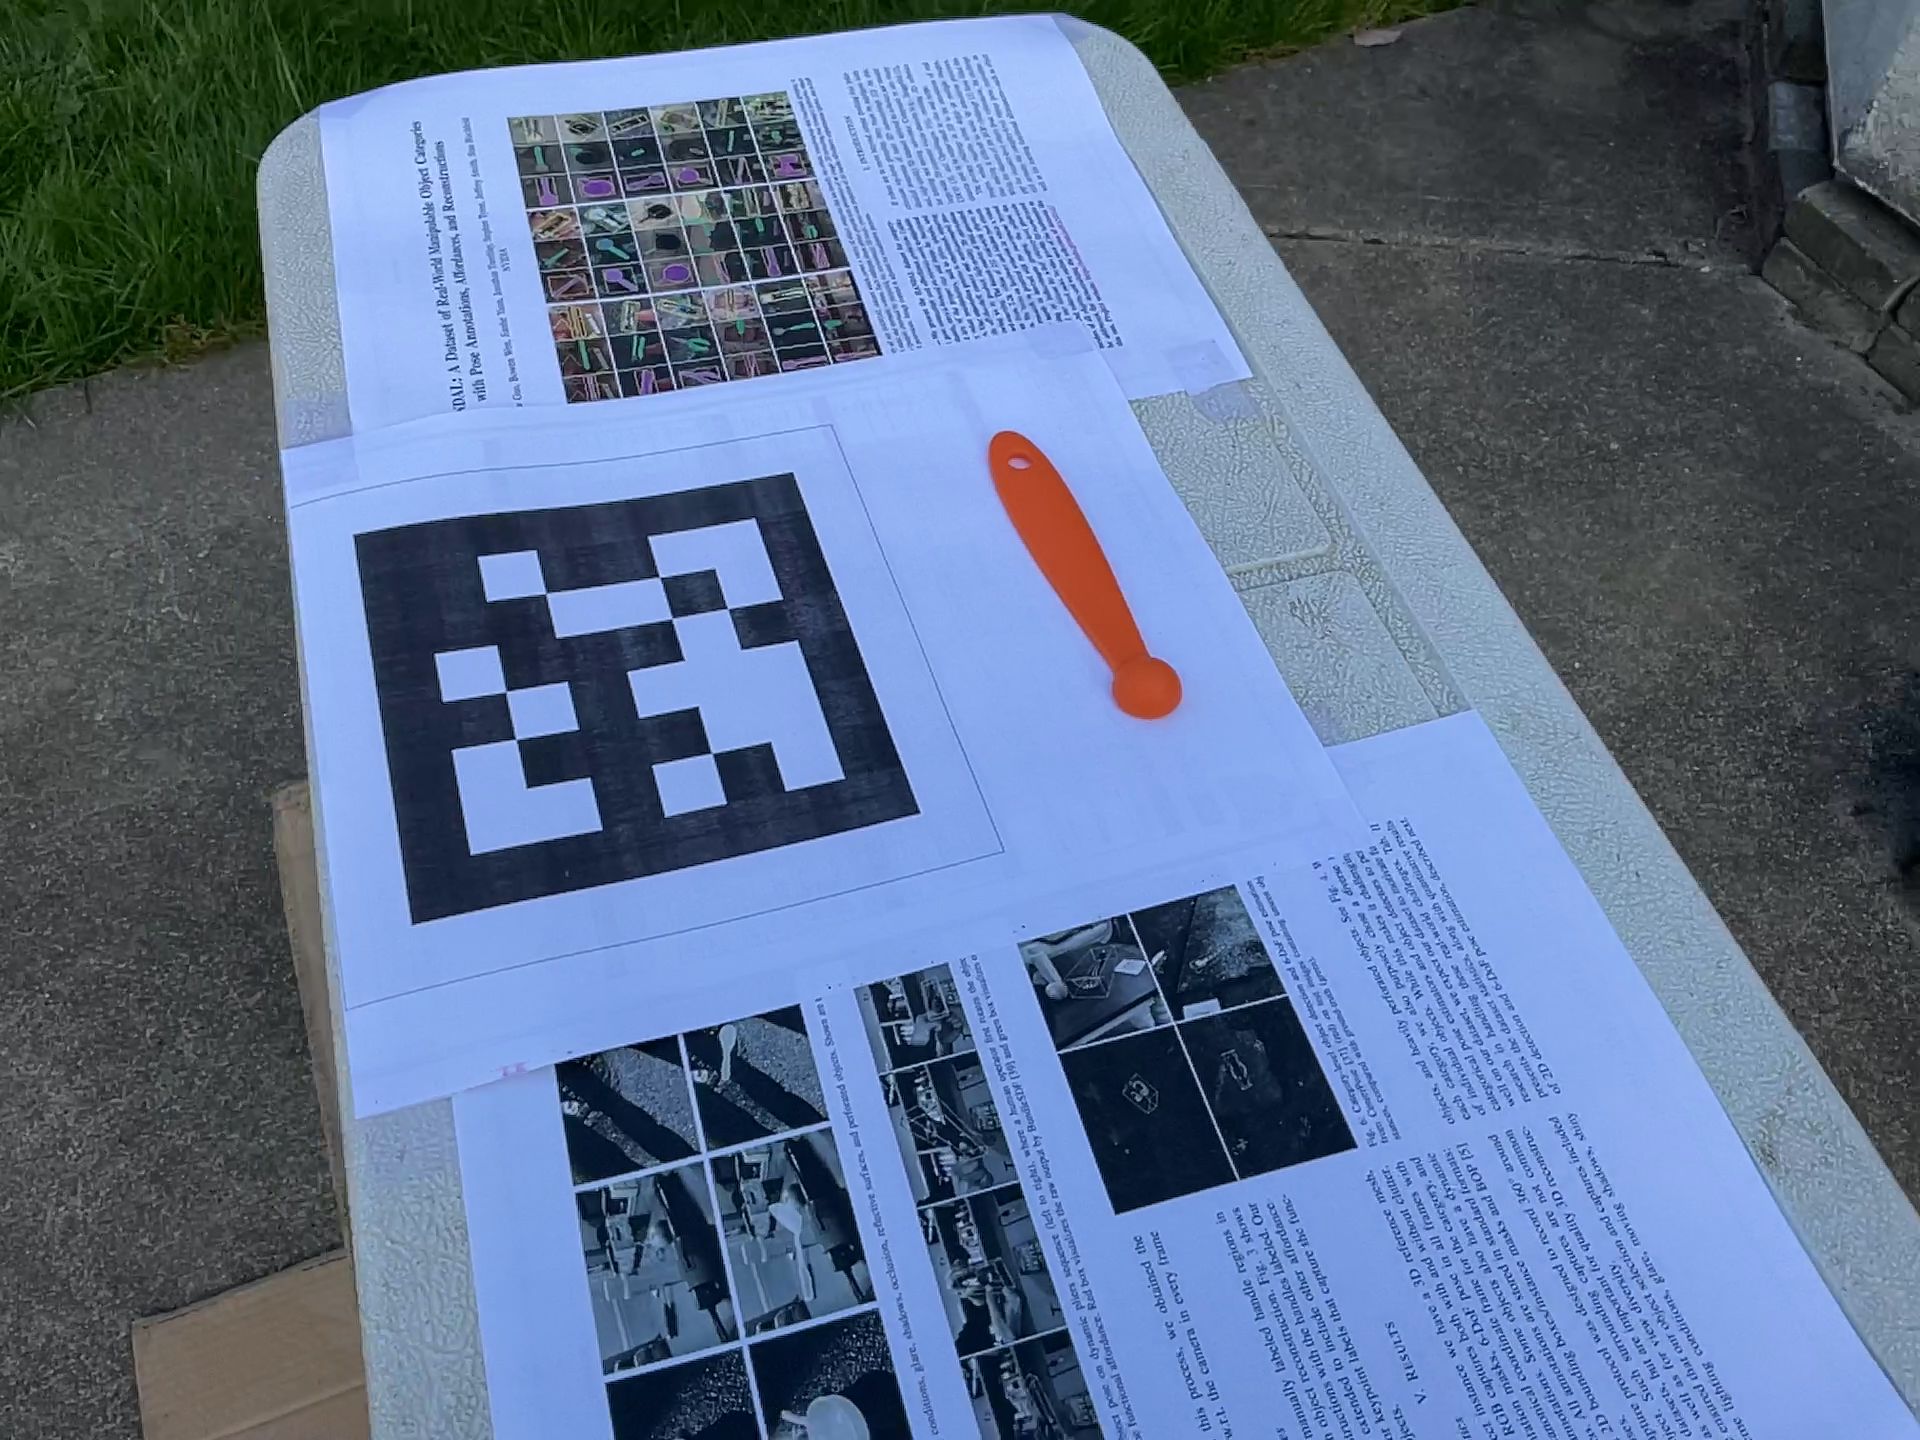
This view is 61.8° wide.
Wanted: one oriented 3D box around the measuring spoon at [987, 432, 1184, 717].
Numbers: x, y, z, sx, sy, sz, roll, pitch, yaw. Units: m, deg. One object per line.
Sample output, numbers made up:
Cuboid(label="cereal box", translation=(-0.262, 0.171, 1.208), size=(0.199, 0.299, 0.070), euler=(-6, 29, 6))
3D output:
Cuboid(label="measuring spoon", translation=(0.034, -0.048, 0.467), size=(0.021, 0.011, 0.117), euler=(-12, 54, -19))
